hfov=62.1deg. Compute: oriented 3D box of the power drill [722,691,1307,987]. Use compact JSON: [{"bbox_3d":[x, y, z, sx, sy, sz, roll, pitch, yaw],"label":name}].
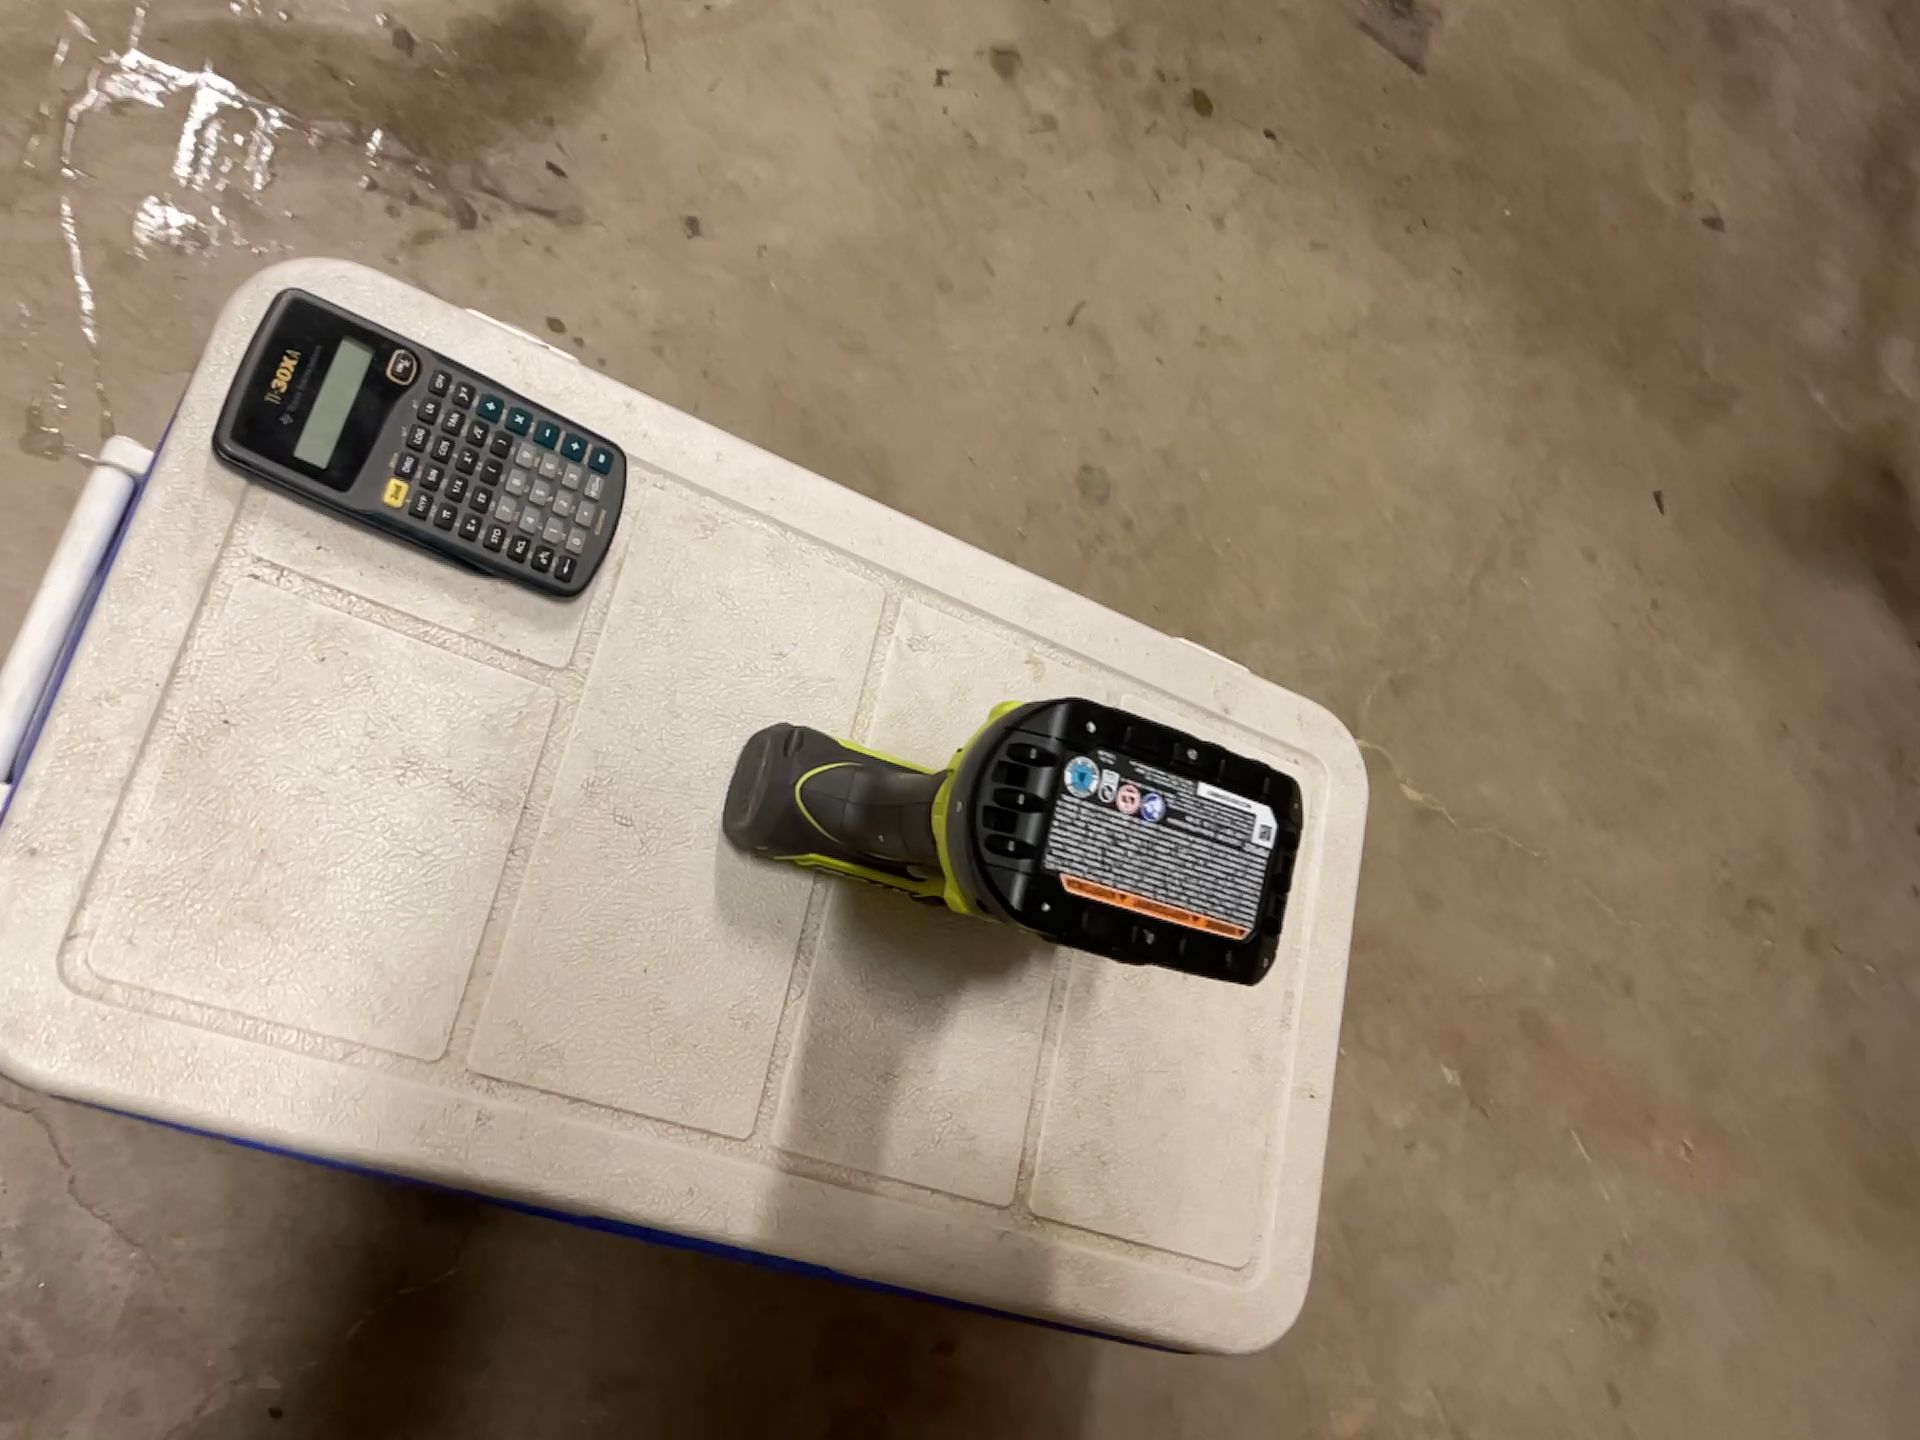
[{"bbox_3d":[0.023,0.046,0.623,0.171,0.223,0.080,19,80,-26],"label":"power drill"}]
